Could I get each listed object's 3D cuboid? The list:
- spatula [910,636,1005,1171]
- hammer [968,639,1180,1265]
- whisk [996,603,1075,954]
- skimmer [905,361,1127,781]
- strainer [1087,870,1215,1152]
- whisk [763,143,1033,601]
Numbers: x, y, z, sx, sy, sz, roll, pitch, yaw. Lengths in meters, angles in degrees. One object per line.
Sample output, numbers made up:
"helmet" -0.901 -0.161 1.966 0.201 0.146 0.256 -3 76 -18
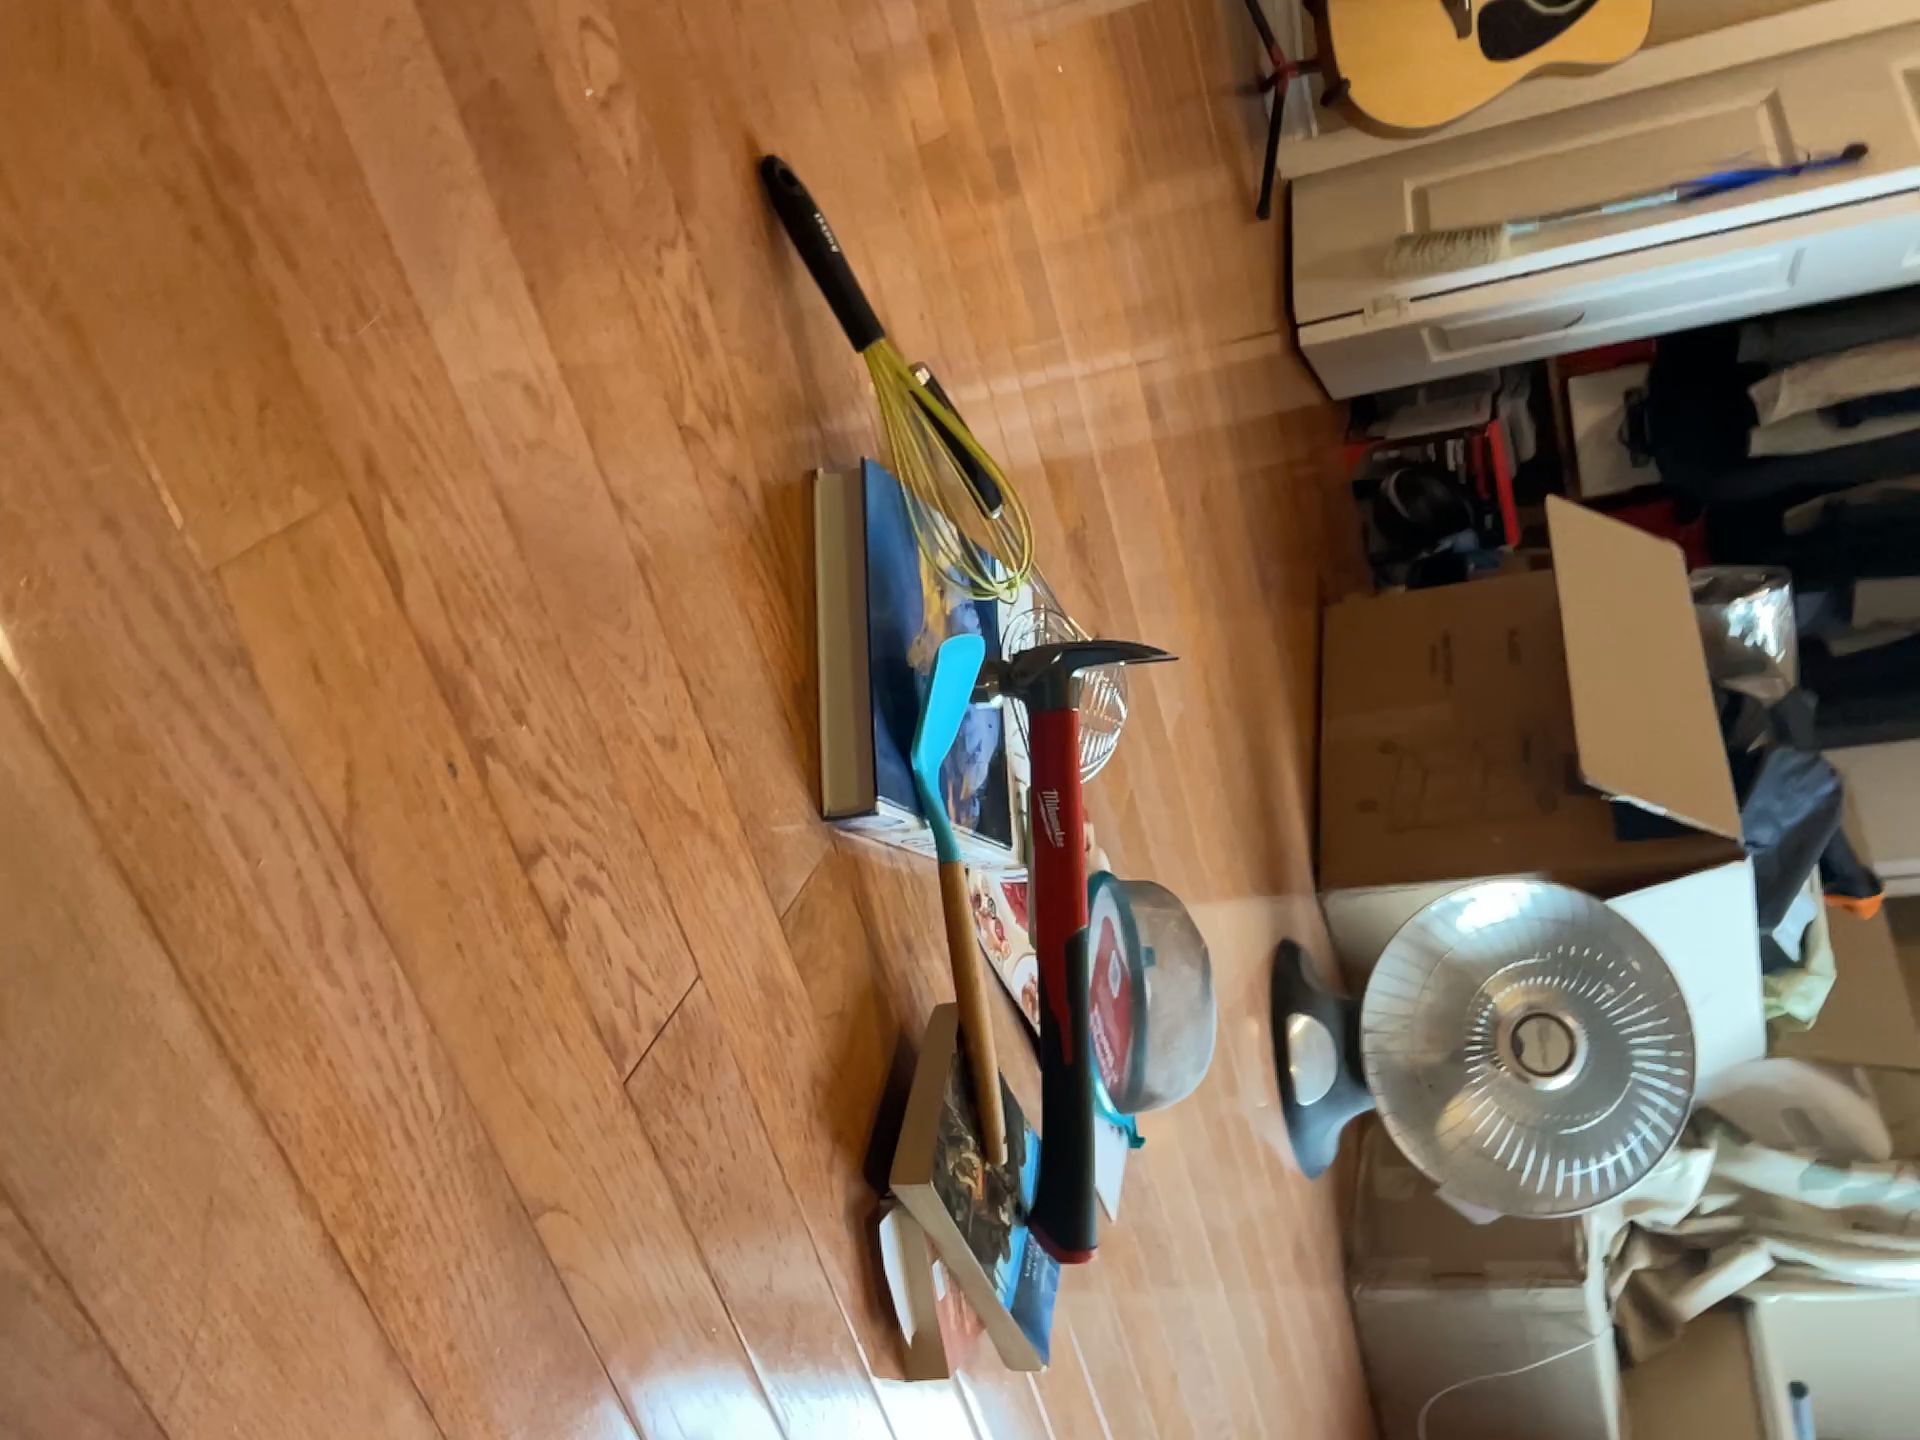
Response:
"spatula" 0.006 0.110 0.947 0.082 0.044 0.317 -10 91 -70
"hammer" 0.077 0.142 1.007 0.038 0.143 0.386 14 72 -63
"whisk" 0.056 0.041 1.108 0.059 0.058 0.246 147 -58 -80
"skimmer" 0.029 -0.103 1.205 0.363 0.090 0.128 56 34 -28
"strainer" 0.142 0.188 1.266 0.340 0.095 0.211 68 25 -47
"whisk" -0.043 -0.209 0.981 0.080 0.067 0.311 -41 106 -48
